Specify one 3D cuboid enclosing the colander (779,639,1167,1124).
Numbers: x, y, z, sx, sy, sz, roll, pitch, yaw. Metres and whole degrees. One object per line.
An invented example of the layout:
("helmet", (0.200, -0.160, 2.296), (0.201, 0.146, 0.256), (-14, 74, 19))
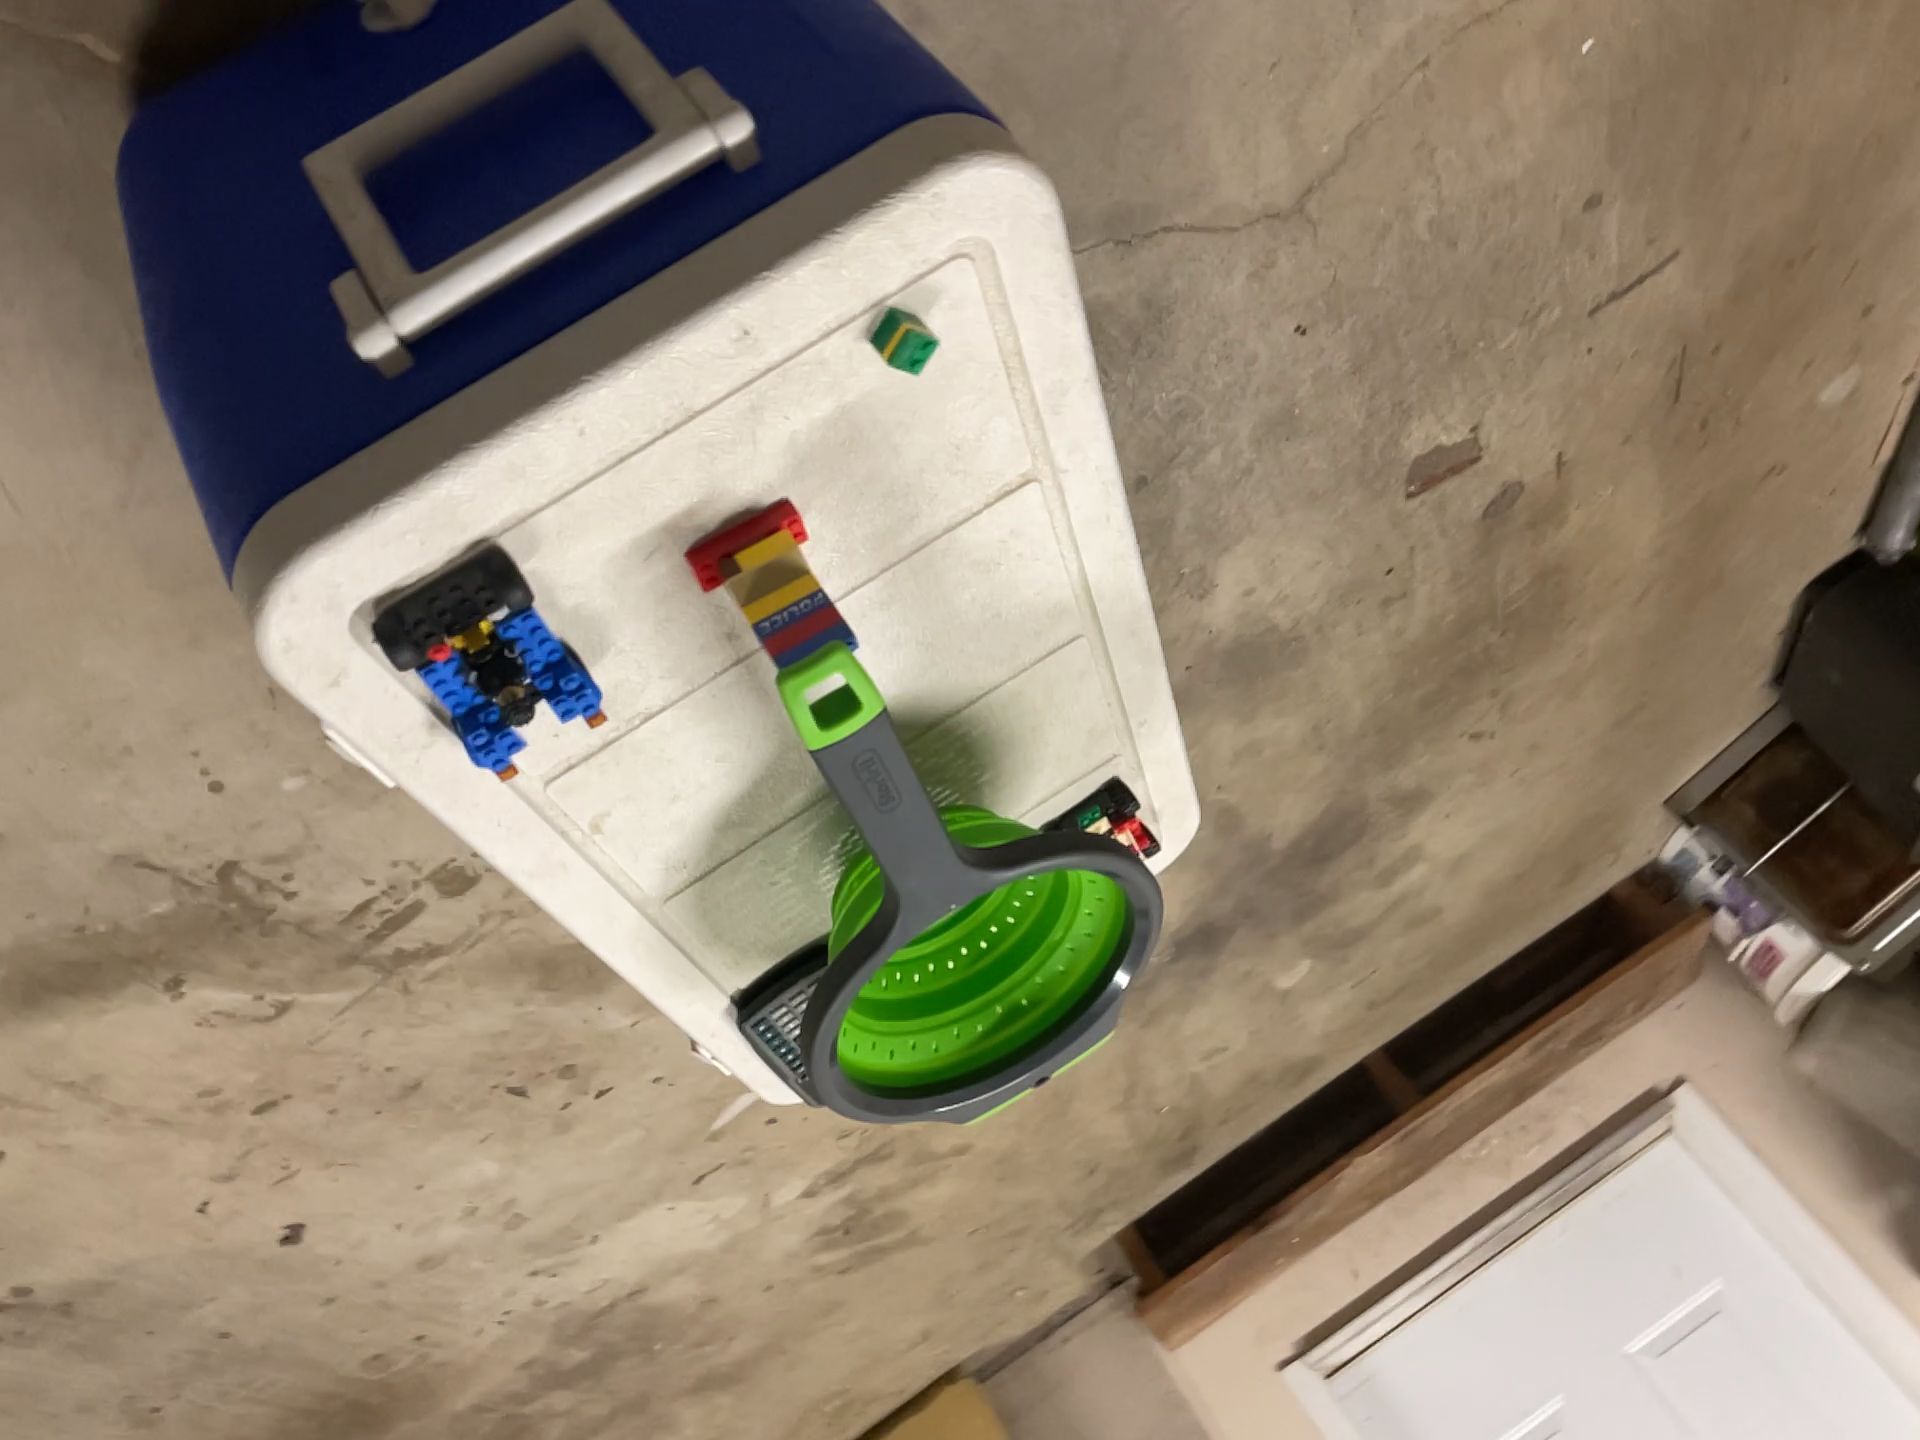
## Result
("colander", (-0.021, 0.066, 0.777), (0.204, 0.095, 0.396), (-30, 142, -5))
